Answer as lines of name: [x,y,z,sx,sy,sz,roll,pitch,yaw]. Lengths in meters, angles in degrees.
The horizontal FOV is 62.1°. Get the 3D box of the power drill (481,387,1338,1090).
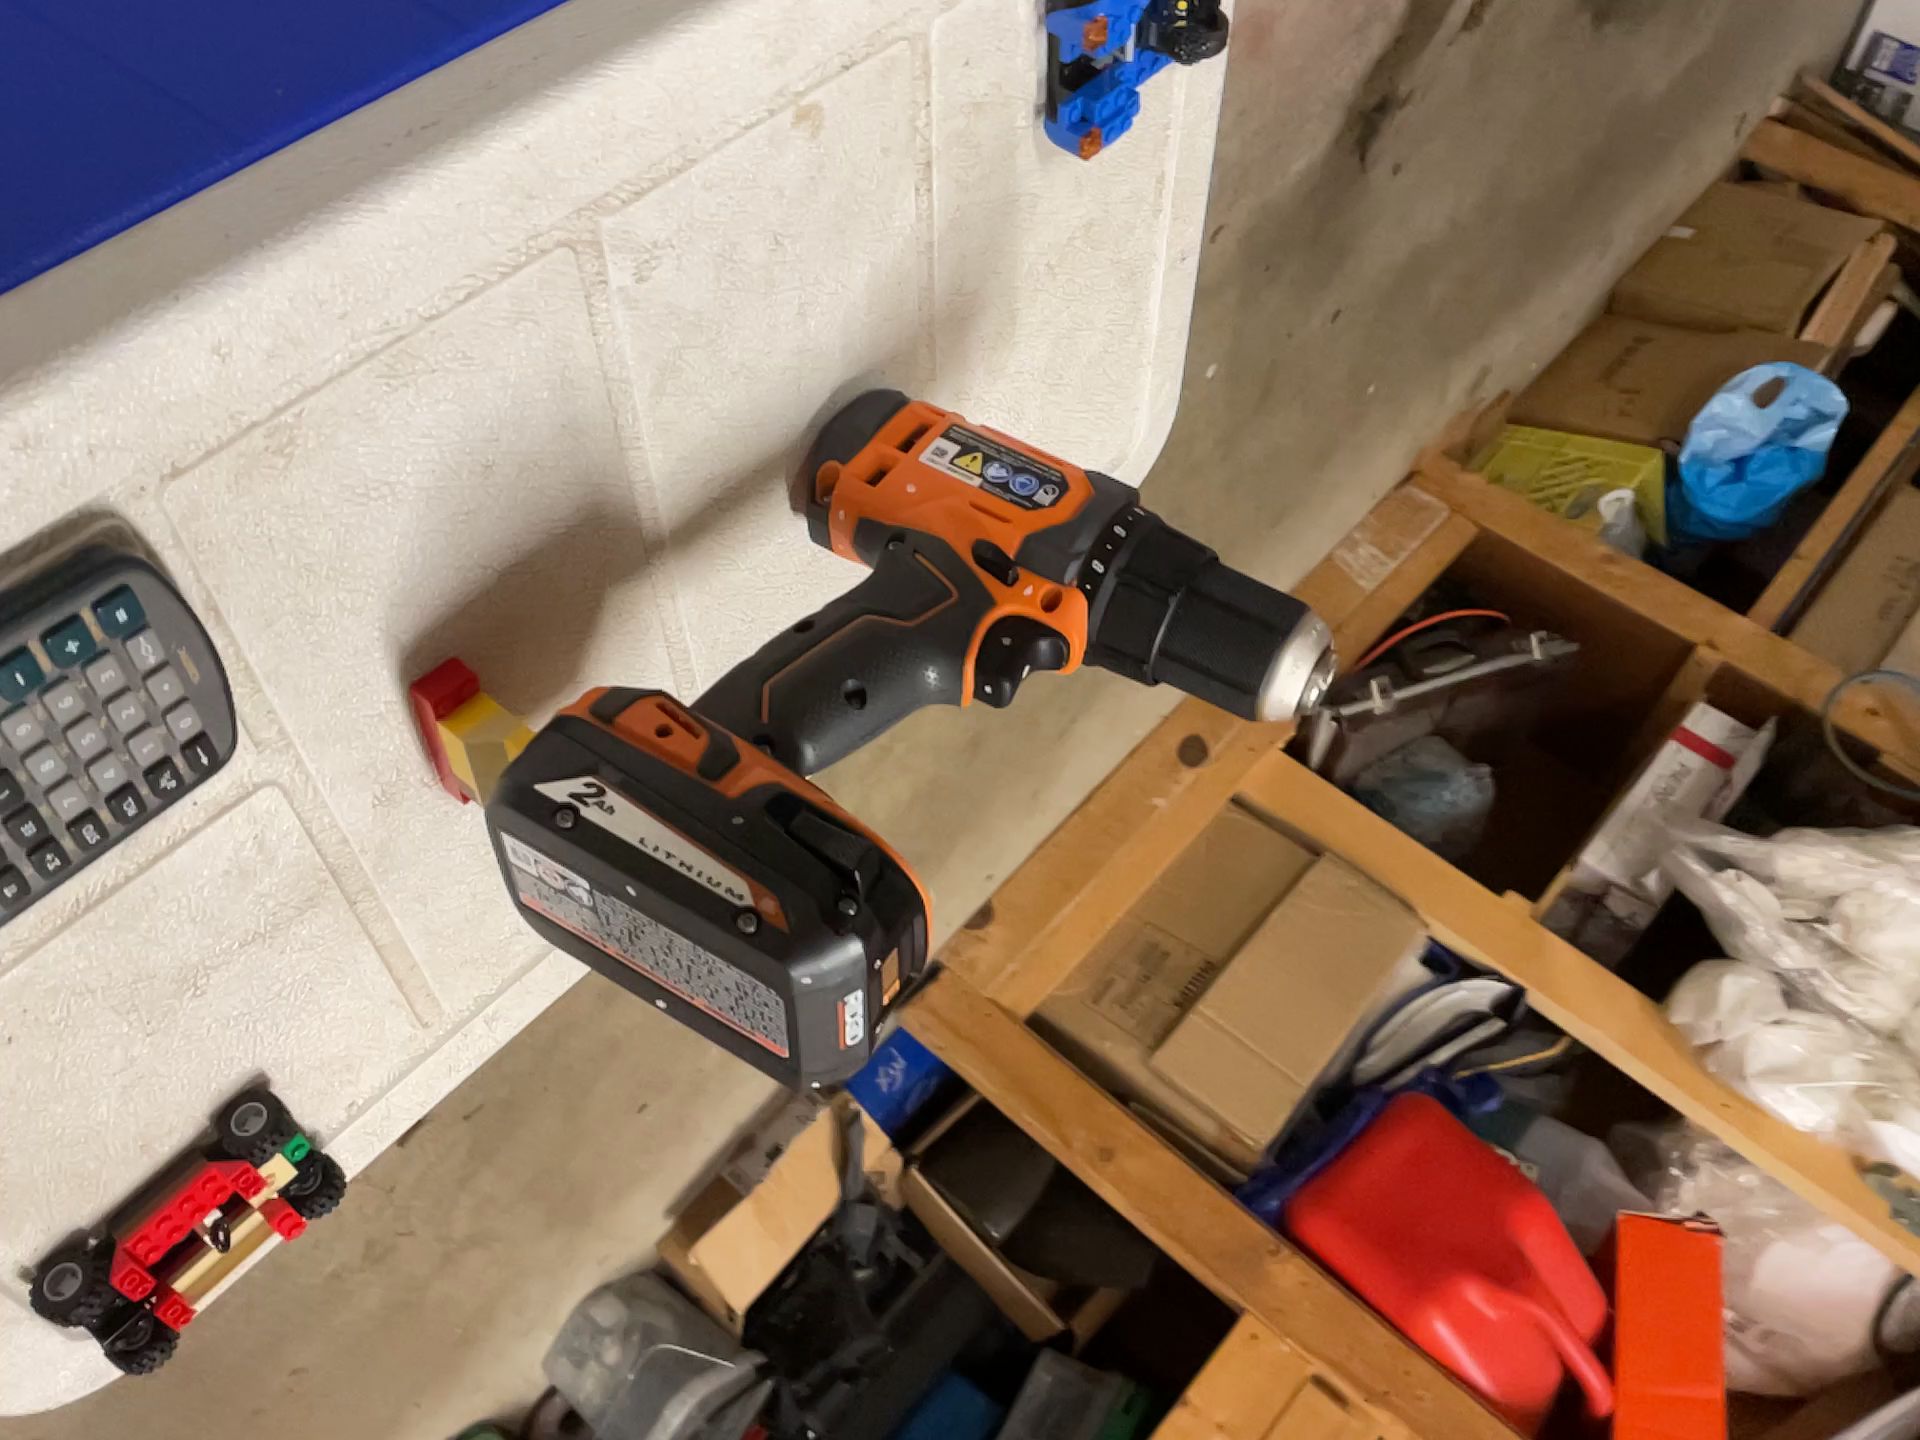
power drill: [-0.006,0.000,0.487,0.226,0.185,0.084,-51,159,-34]
